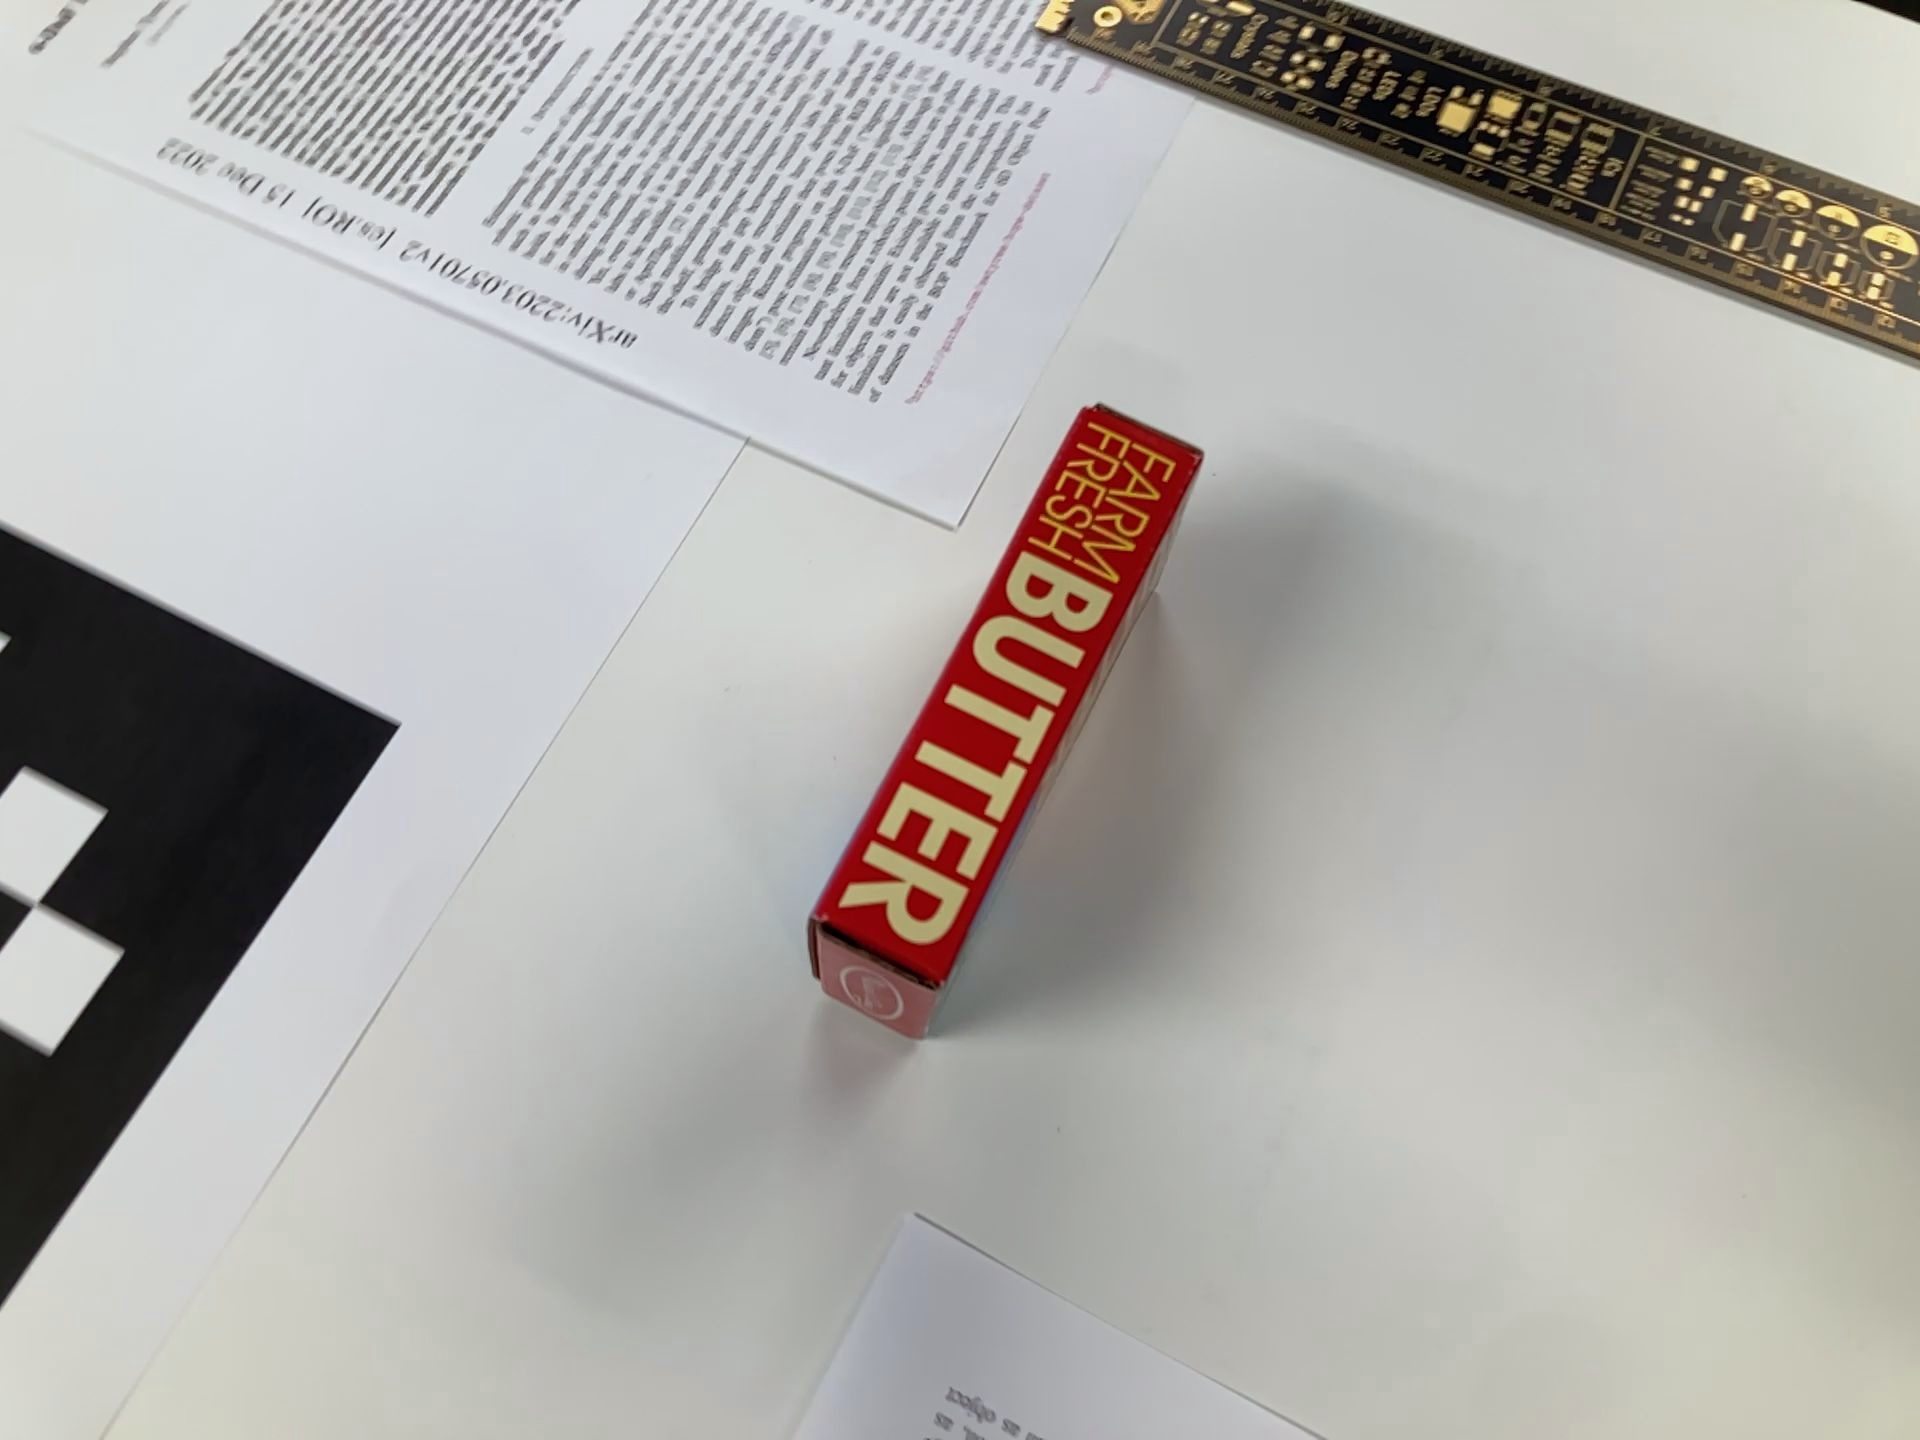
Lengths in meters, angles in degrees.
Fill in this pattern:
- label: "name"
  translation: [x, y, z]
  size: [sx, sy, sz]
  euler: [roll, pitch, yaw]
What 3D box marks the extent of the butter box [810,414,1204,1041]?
- label: "butter box"
  translation: [0.008, 0.002, 0.279]
  size: [0.024, 0.053, 0.103]
  euler: [26, 71, 6]
